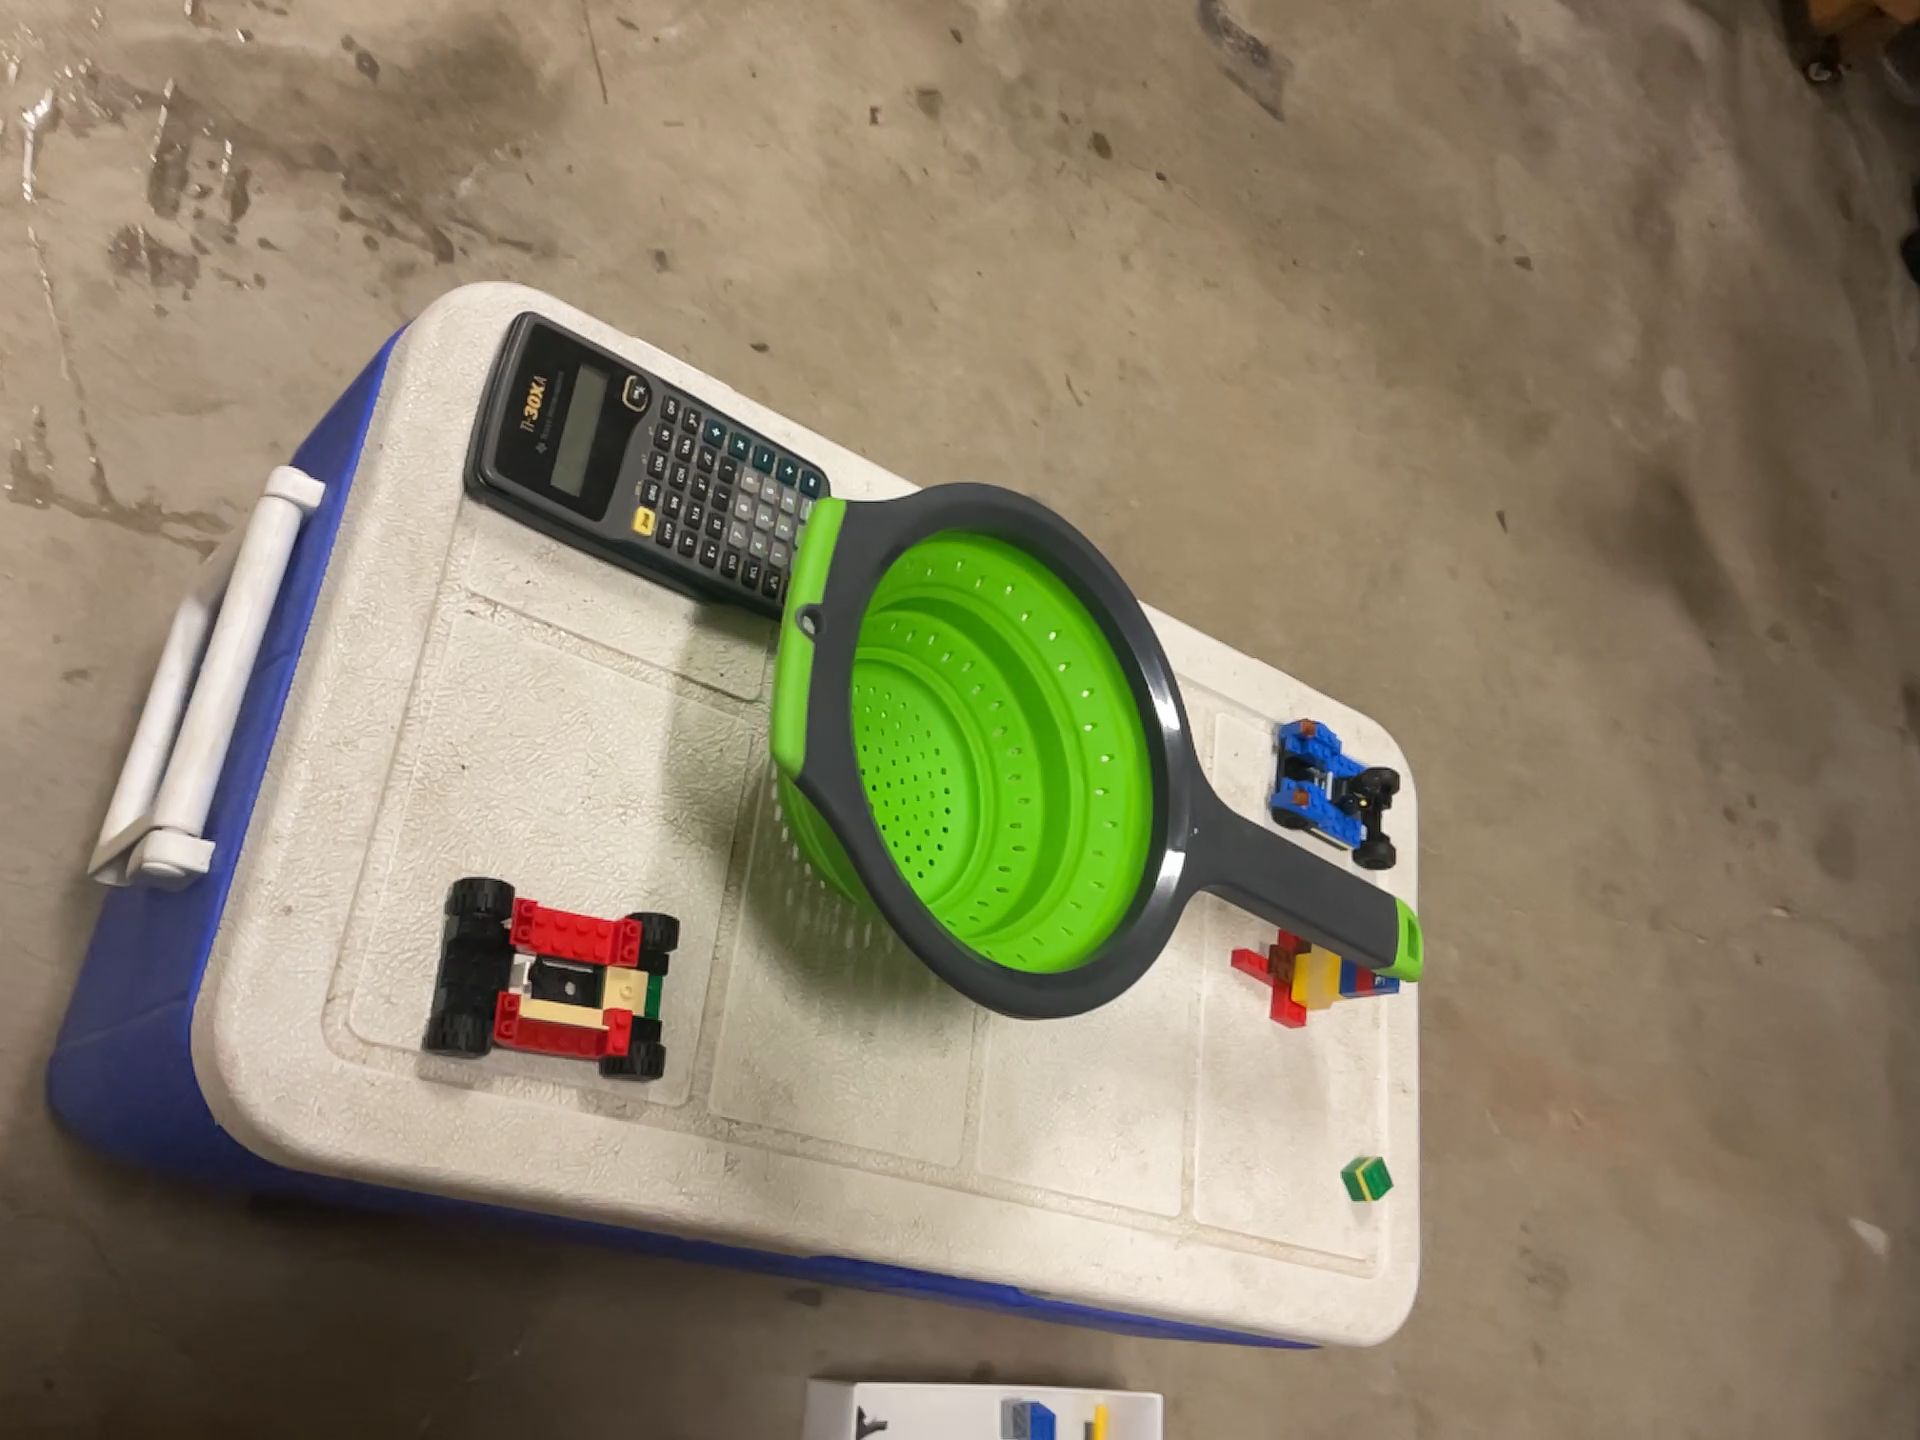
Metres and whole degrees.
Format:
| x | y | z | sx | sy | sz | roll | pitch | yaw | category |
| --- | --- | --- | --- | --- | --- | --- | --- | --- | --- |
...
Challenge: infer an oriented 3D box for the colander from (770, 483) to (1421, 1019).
| x | y | z | sx | sy | sz | roll | pitch | yaw | category |
| --- | --- | --- | --- | --- | --- | --- | --- | --- | --- |
| 0.055 | 0.048 | 0.674 | 0.397 | 0.094 | 0.205 | 28 | 57 | -37 | colander |
